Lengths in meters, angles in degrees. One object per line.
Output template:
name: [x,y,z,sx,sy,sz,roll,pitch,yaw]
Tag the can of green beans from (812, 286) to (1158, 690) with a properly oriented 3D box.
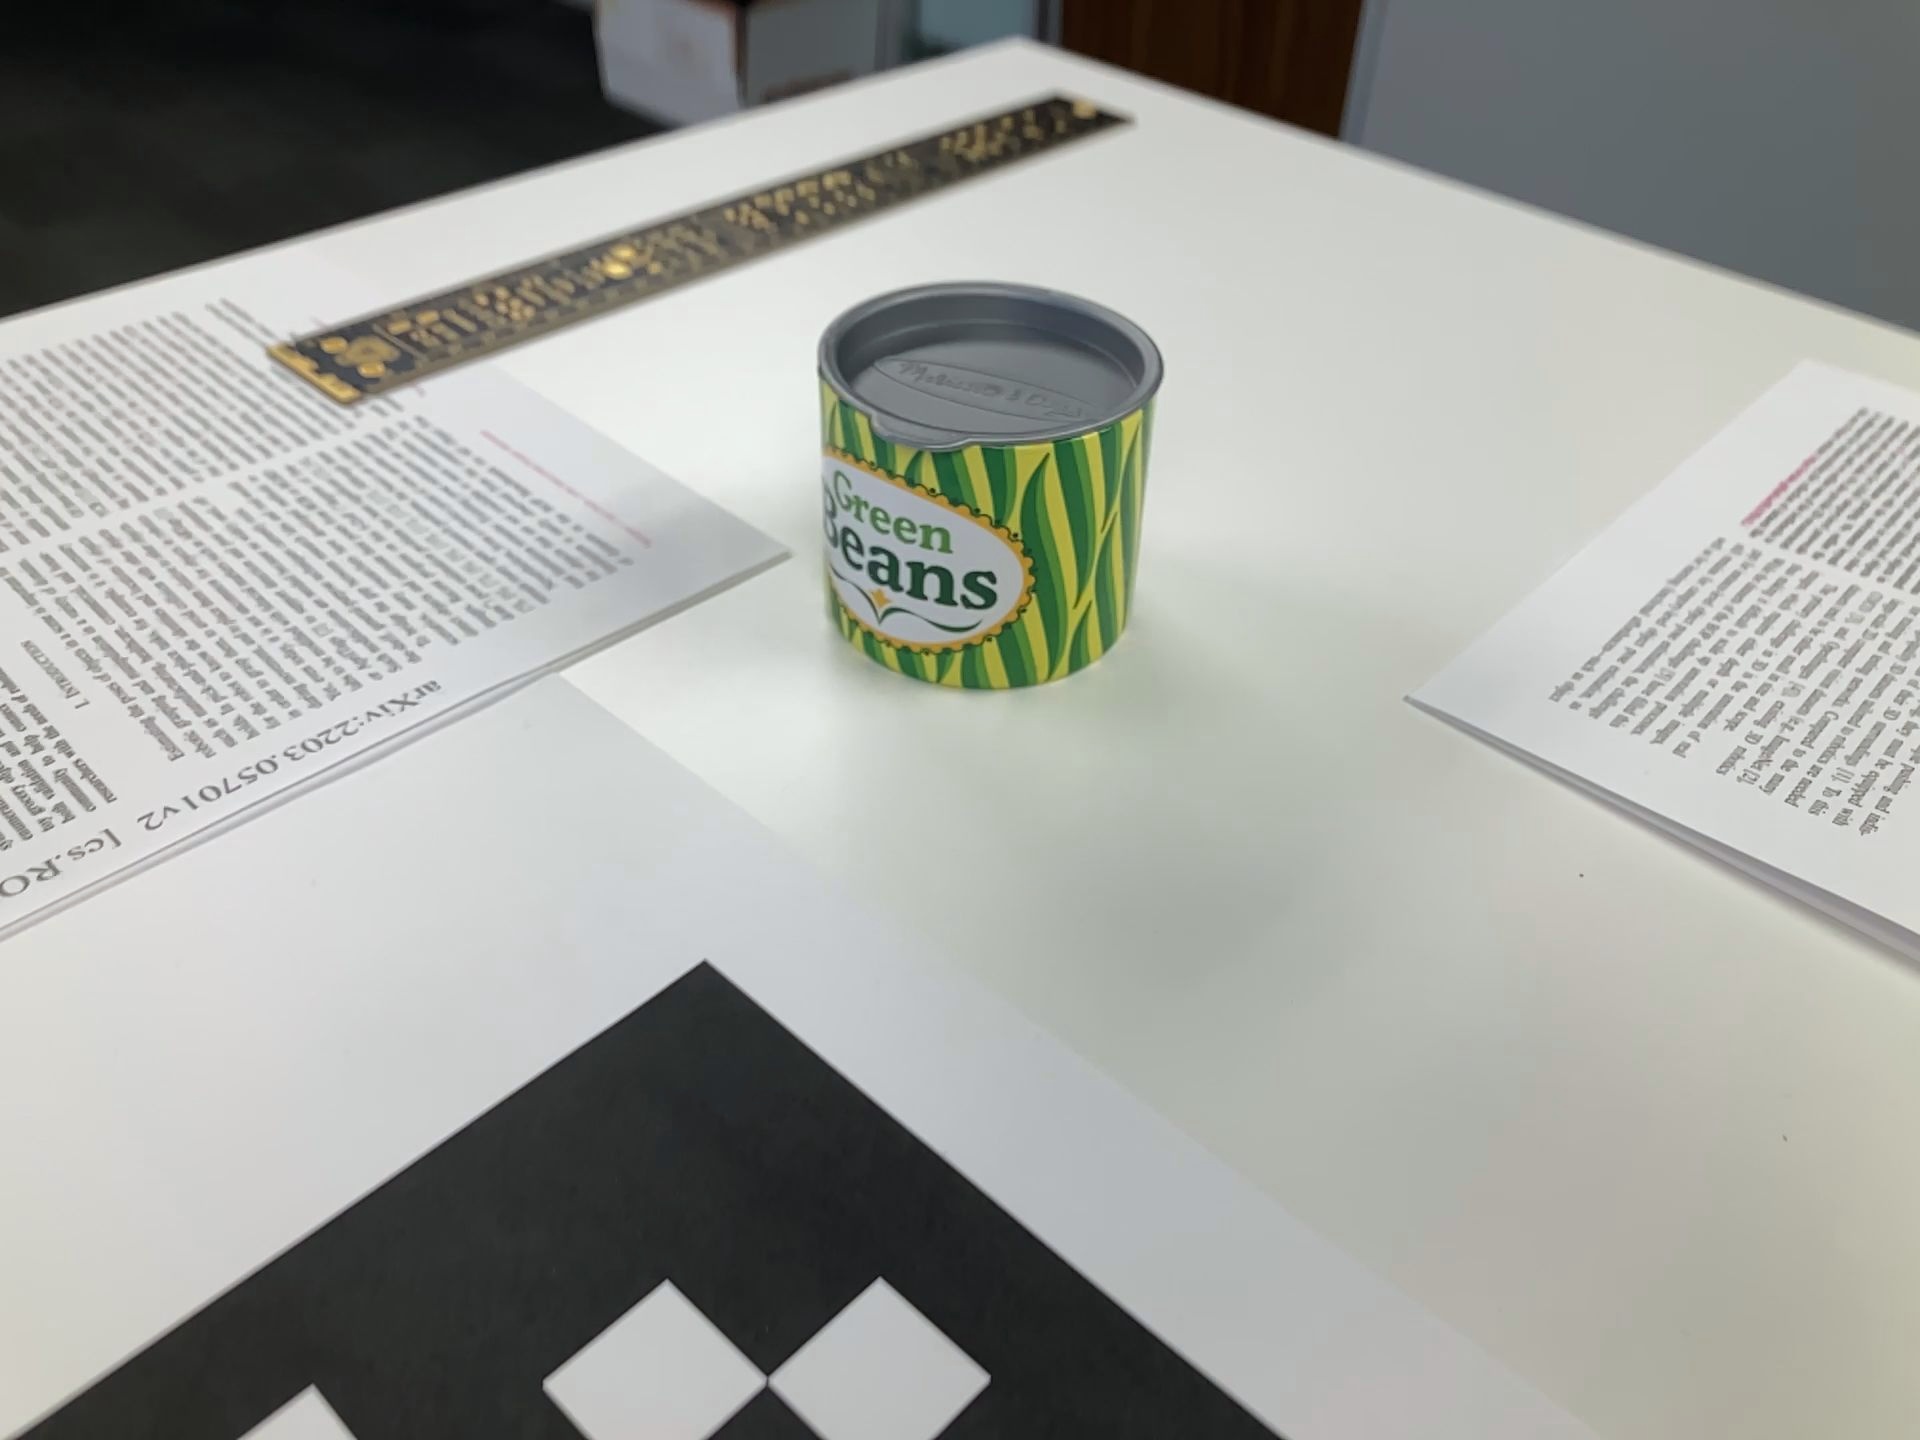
can of green beans: [0.004,-0.048,0.325,0.071,0.058,0.071,2,38,-1]
